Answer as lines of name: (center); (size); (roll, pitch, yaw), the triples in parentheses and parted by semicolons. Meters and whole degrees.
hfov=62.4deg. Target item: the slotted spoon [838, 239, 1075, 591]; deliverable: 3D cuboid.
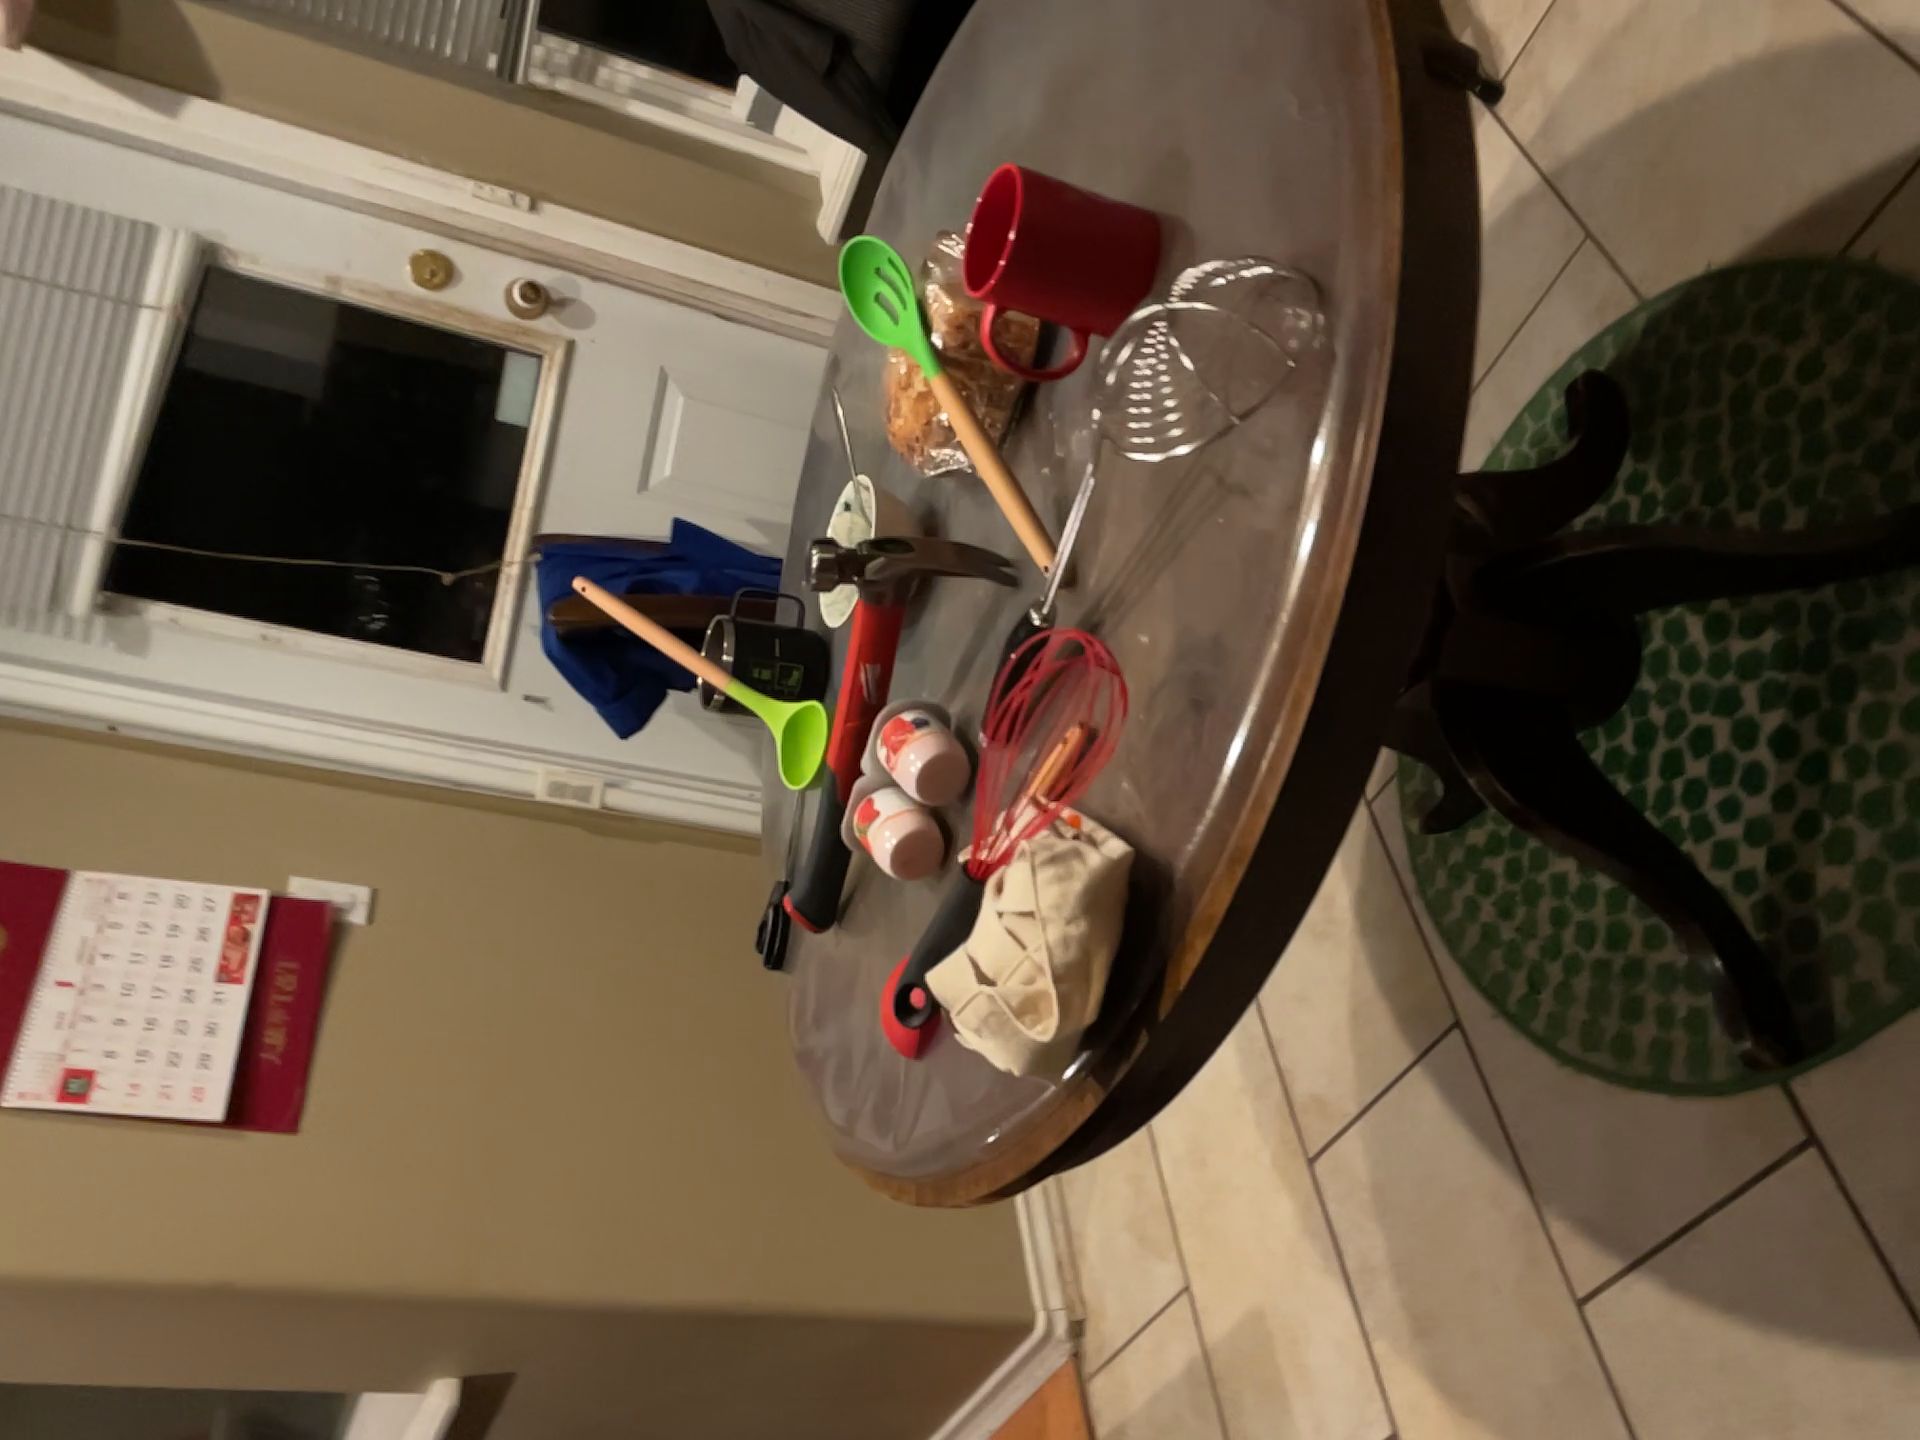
slotted spoon: (-0.002, -0.207, 1.062); (0.314, 0.031, 0.070); (61, 145, 25)

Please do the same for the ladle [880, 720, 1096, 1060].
ladle: (0.011, 0.114, 1.024); (0.315, 0.031, 0.069); (-60, 30, 35)

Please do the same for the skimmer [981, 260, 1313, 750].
skimmer: (0.093, -0.100, 0.917); (0.363, 0.090, 0.127); (109, 167, -46)

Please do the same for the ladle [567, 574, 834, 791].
ladle: (-0.229, -0.043, 1.383); (0.078, 0.320, 0.062); (-61, -17, 15)

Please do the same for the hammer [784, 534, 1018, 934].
hammer: (-0.065, 0.025, 1.183); (0.038, 0.143, 0.386); (-102, 19, -45)

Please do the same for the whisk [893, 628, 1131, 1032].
whisk: (0.019, 0.072, 0.890); (0.073, 0.073, 0.295); (-110, 37, -49)
